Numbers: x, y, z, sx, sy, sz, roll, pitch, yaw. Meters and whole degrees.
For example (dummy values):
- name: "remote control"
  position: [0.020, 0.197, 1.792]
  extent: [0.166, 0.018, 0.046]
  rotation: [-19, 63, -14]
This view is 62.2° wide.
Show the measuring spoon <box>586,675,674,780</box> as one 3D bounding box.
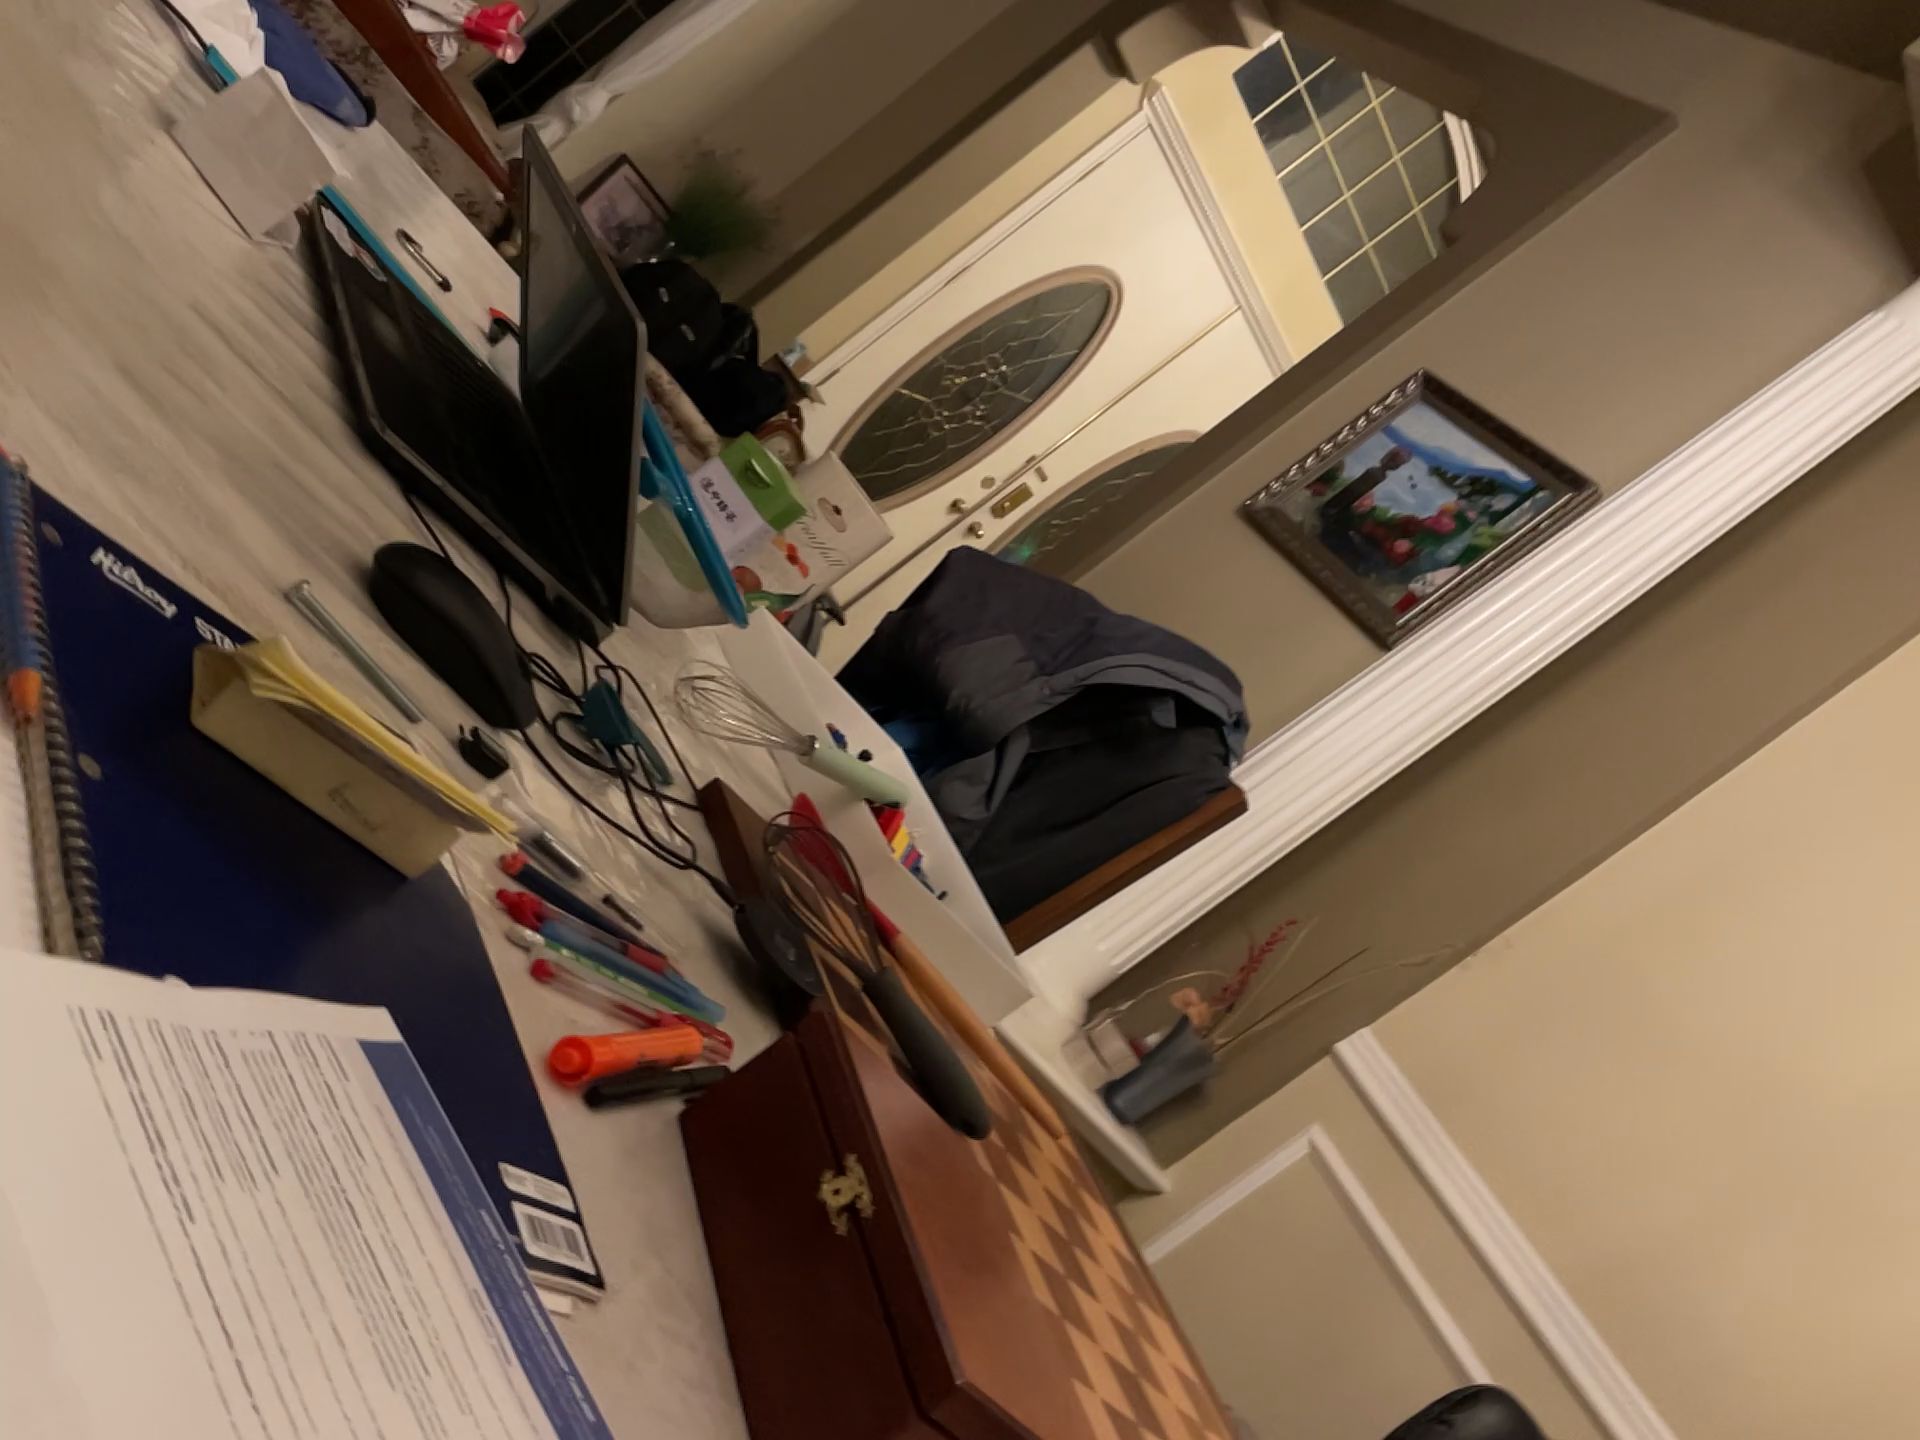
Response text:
- name: "measuring spoon"
  position: [-0.199, 0.013, 0.958]
  extent: [0.128, 0.021, 0.042]
  rotation: [74, -9, -66]

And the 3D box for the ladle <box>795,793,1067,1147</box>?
- name: "ladle"
  position: [-0.027, 0.181, 1.157]
  extent: [0.315, 0.031, 0.069]
  rotation: [50, -19, 14]

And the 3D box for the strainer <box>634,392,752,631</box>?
- name: "strainer"
  position: [-0.243, -0.147, 1.172]
  extent: [0.340, 0.095, 0.211]
  rotation: [-138, -156, -86]

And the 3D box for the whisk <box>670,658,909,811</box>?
- name: "whisk"
  position: [-0.126, 0.018, 1.224]
  extent: [0.246, 0.058, 0.059]
  rotation: [31, 48, -41]

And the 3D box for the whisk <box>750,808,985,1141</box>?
- name: "whisk"
  position: [-0.054, 0.159, 0.978]
  extent: [0.239, 0.055, 0.055]
  rotation: [57, 18, -2]
